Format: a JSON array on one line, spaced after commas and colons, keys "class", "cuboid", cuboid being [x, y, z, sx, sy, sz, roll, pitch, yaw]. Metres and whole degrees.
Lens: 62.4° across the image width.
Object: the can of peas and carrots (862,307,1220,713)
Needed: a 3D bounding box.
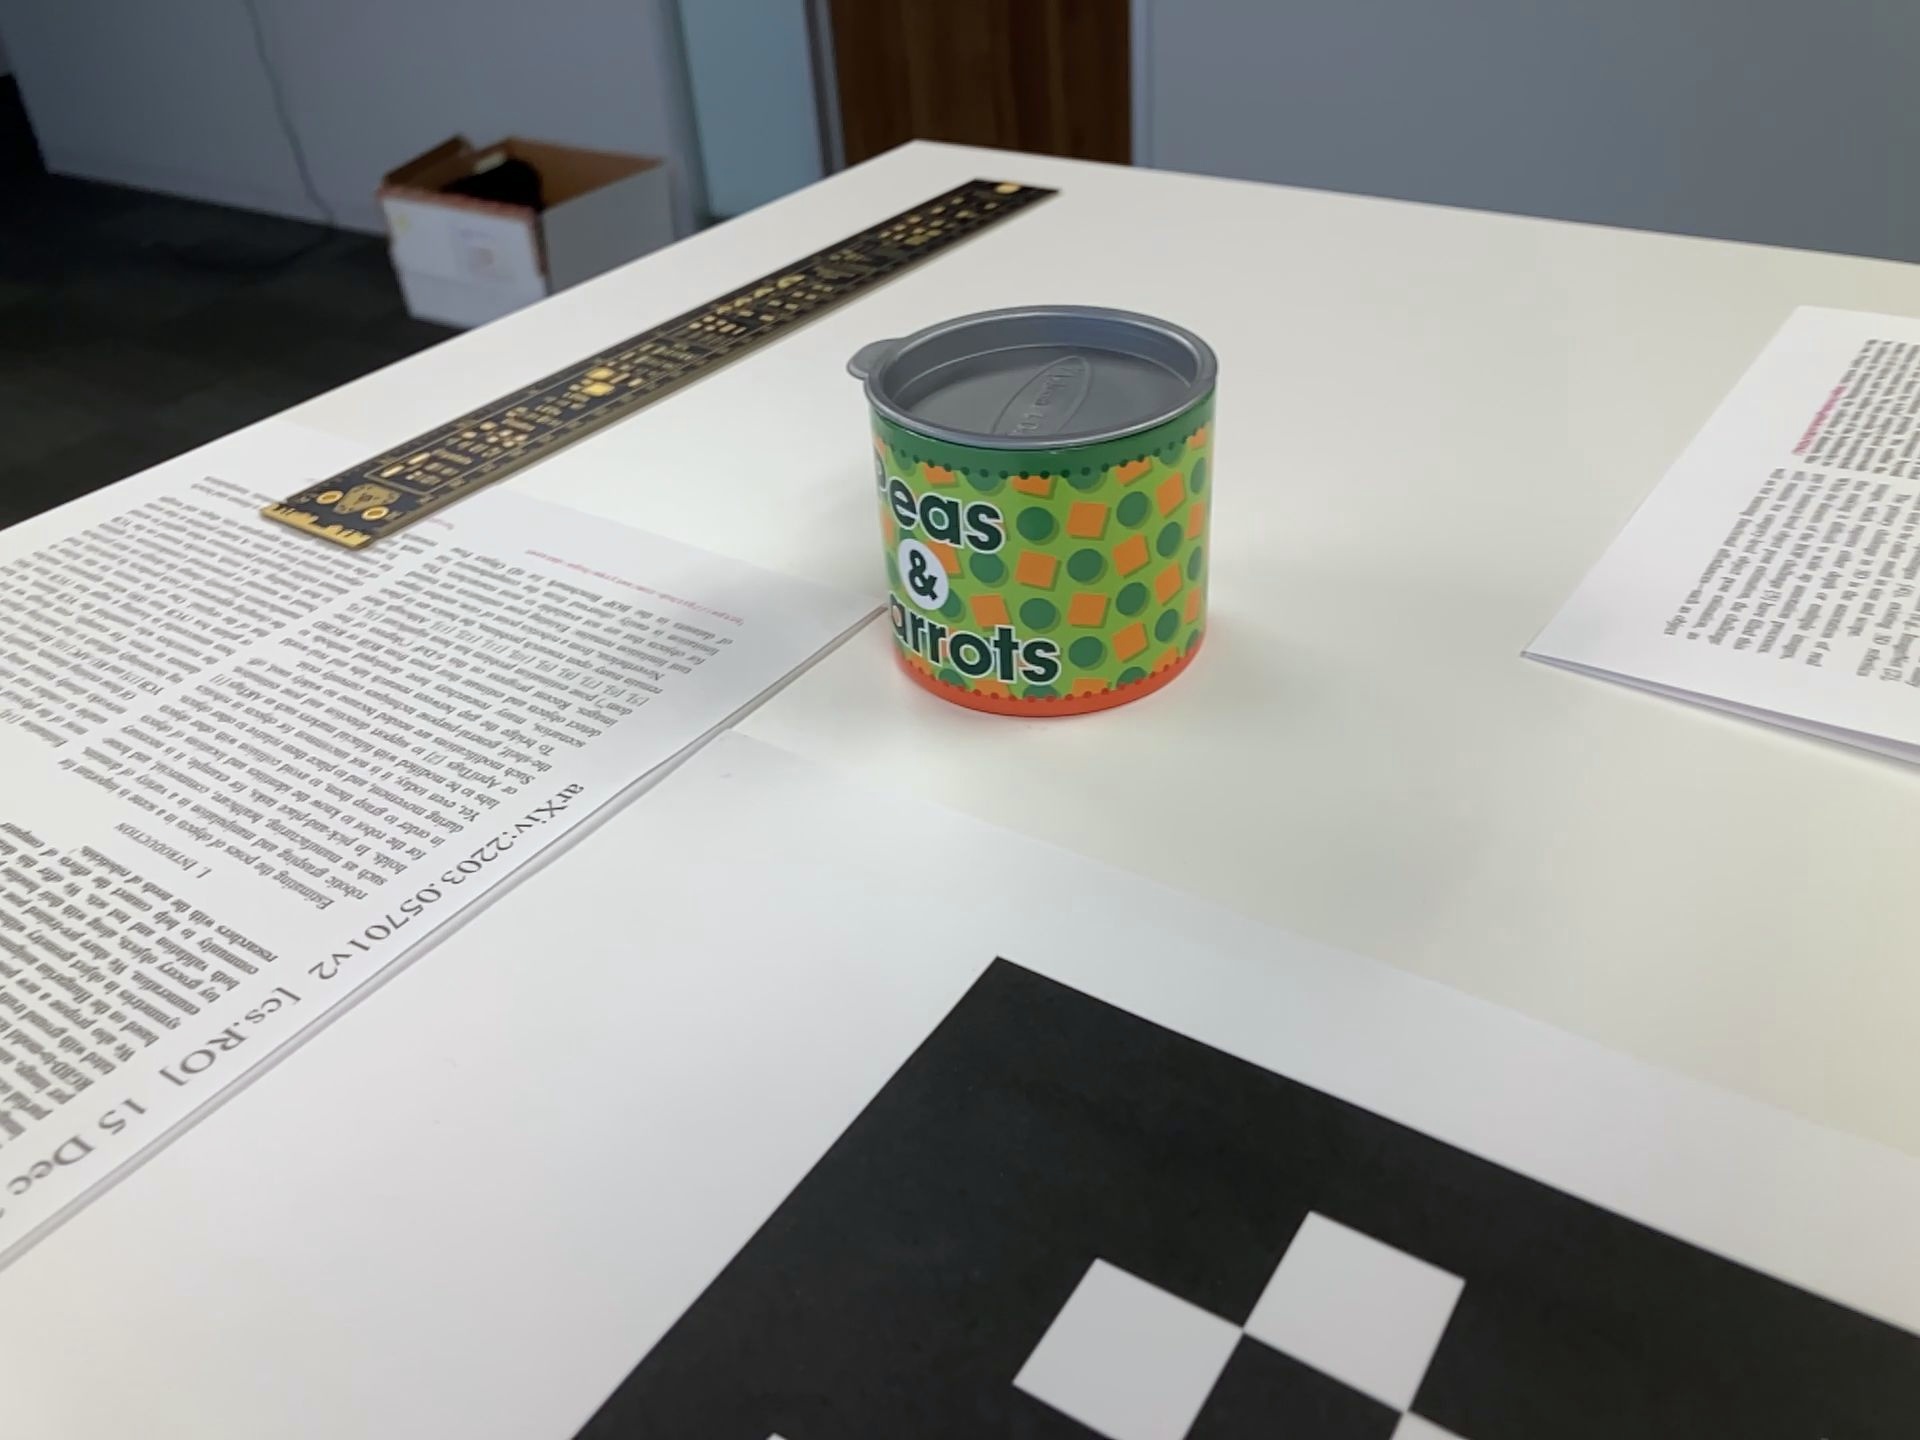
[{"class": "can of peas and carrots", "cuboid": [0.015, -0.041, 0.312, 0.071, 0.059, 0.071, -3, 34, 2]}]
